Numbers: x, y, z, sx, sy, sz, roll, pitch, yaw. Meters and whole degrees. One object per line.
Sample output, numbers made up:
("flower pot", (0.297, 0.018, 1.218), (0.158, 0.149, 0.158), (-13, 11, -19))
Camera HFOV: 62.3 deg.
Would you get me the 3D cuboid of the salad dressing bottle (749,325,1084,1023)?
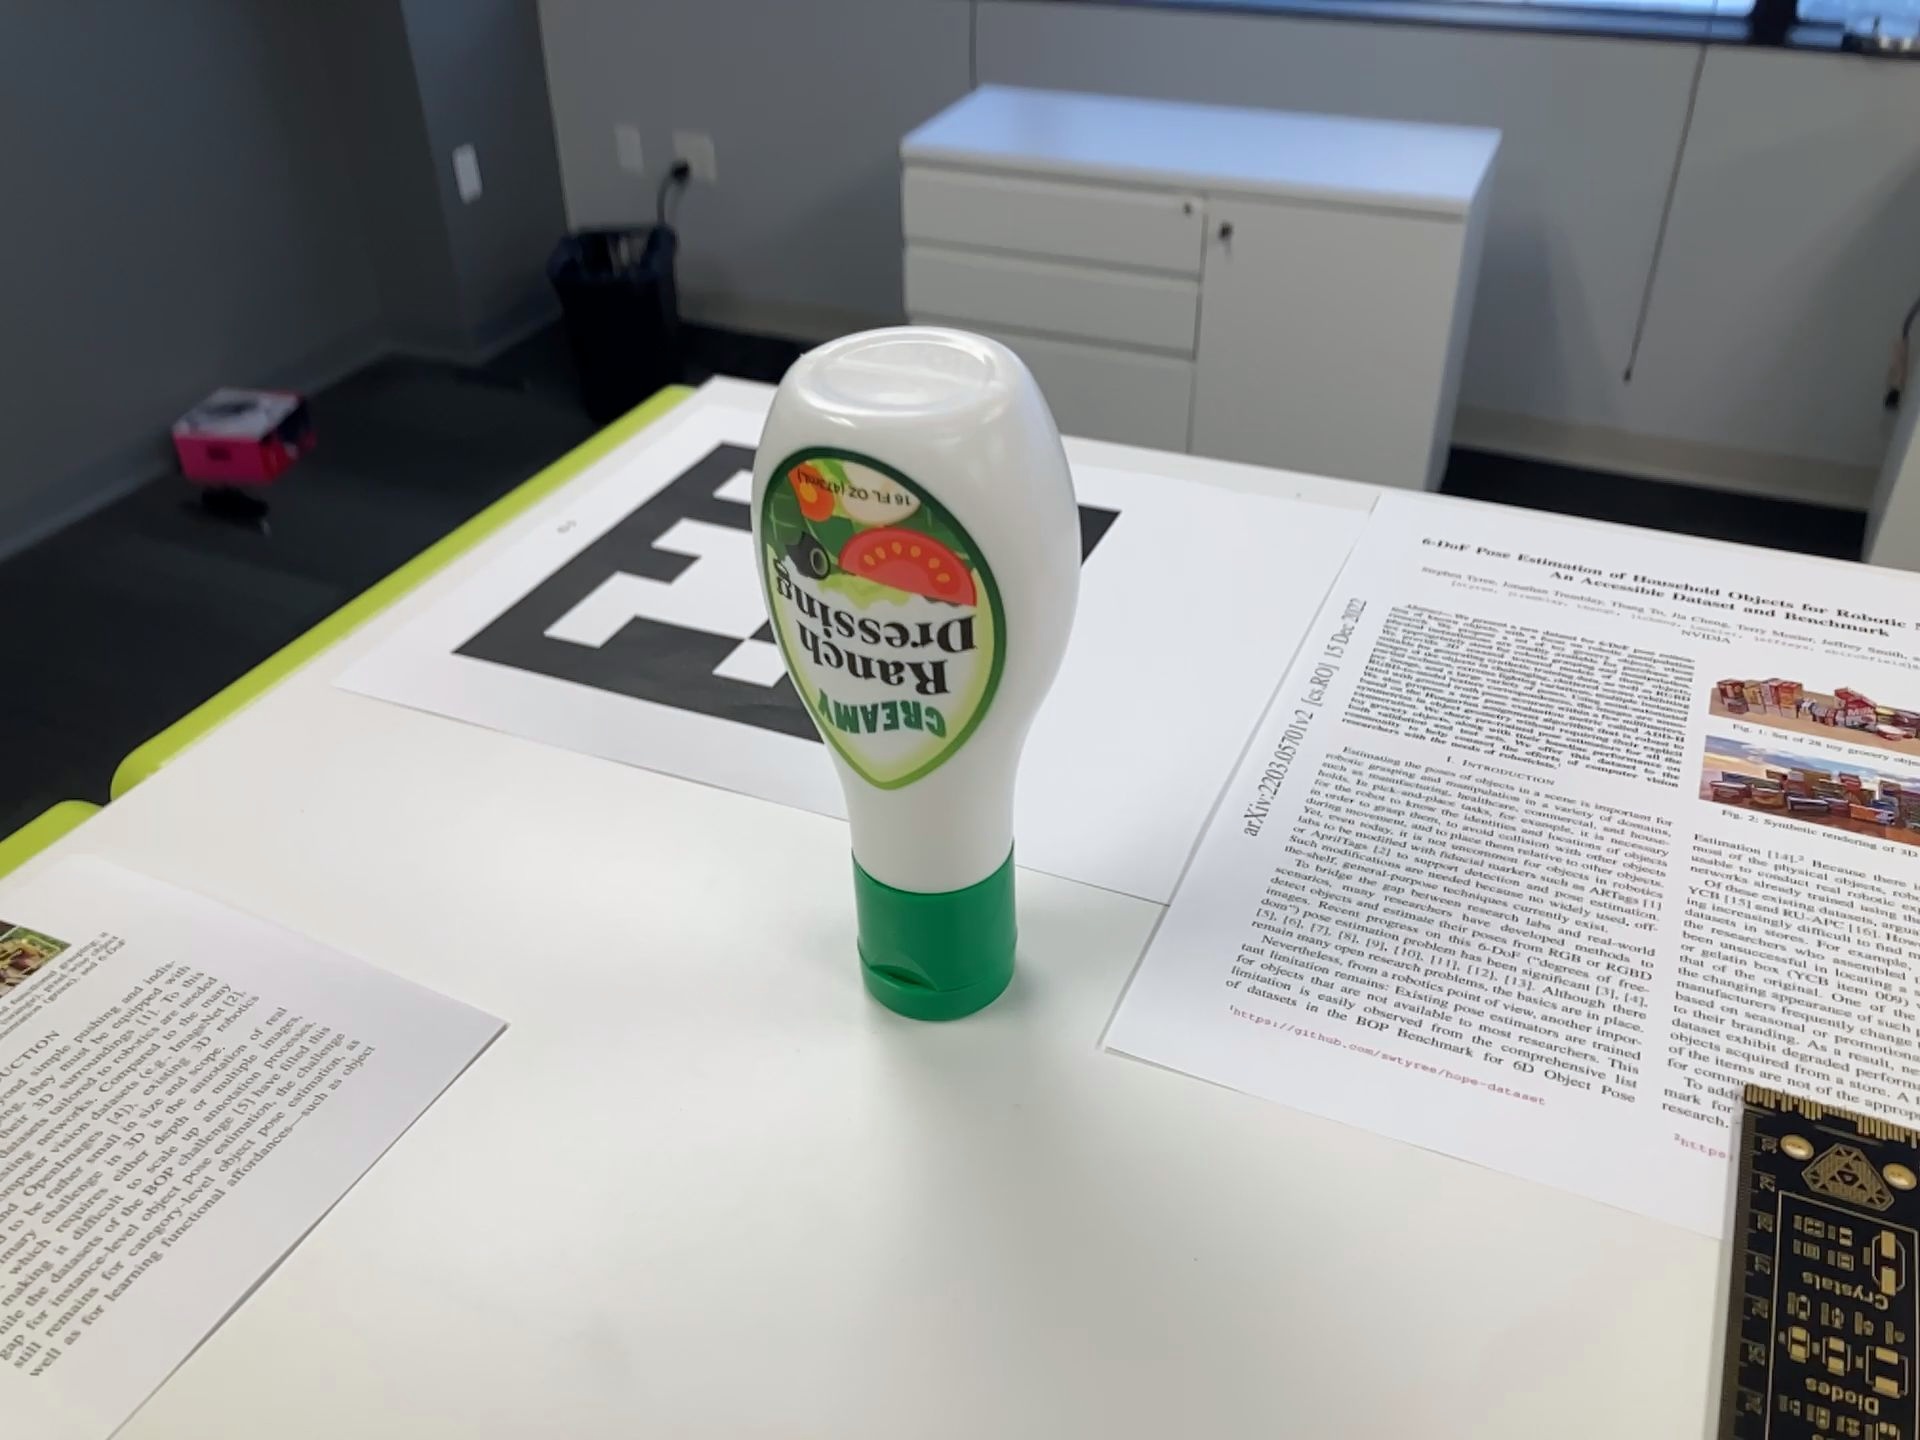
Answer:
("salad dressing bottle", (-0.007, -0.002, 0.323), (0.064, 0.147, 0.044), (14, 39, 22))
